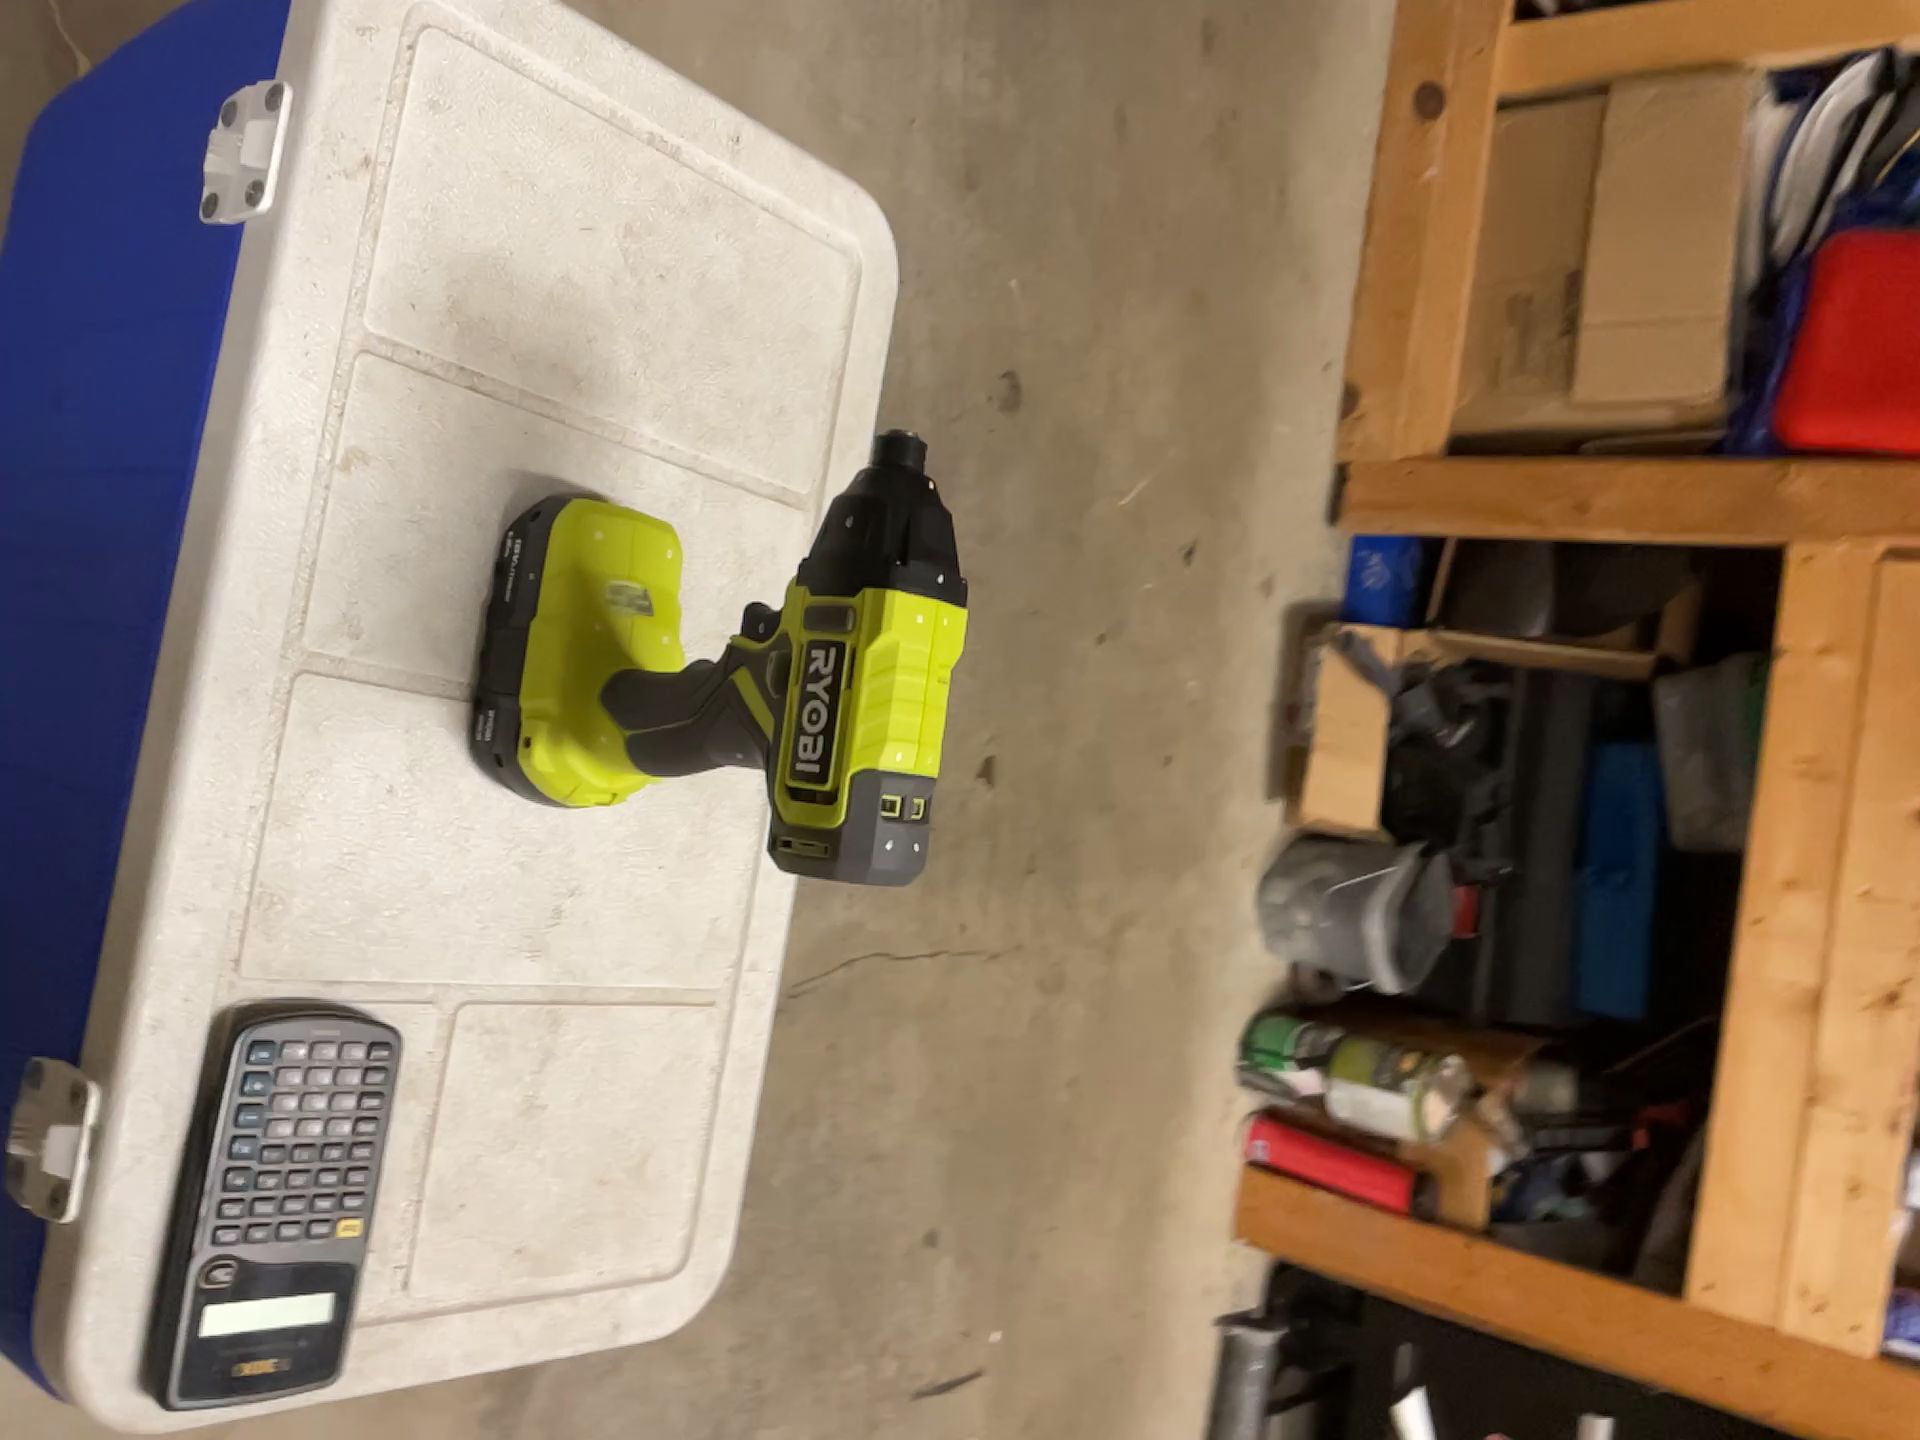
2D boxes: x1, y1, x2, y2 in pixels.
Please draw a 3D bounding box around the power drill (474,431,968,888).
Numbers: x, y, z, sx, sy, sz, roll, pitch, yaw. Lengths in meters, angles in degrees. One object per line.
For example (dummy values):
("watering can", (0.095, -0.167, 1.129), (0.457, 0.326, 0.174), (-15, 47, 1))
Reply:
("power drill", (-0.097, -0.030, 0.660), (0.080, 0.223, 0.171), (10, 86, -52))
